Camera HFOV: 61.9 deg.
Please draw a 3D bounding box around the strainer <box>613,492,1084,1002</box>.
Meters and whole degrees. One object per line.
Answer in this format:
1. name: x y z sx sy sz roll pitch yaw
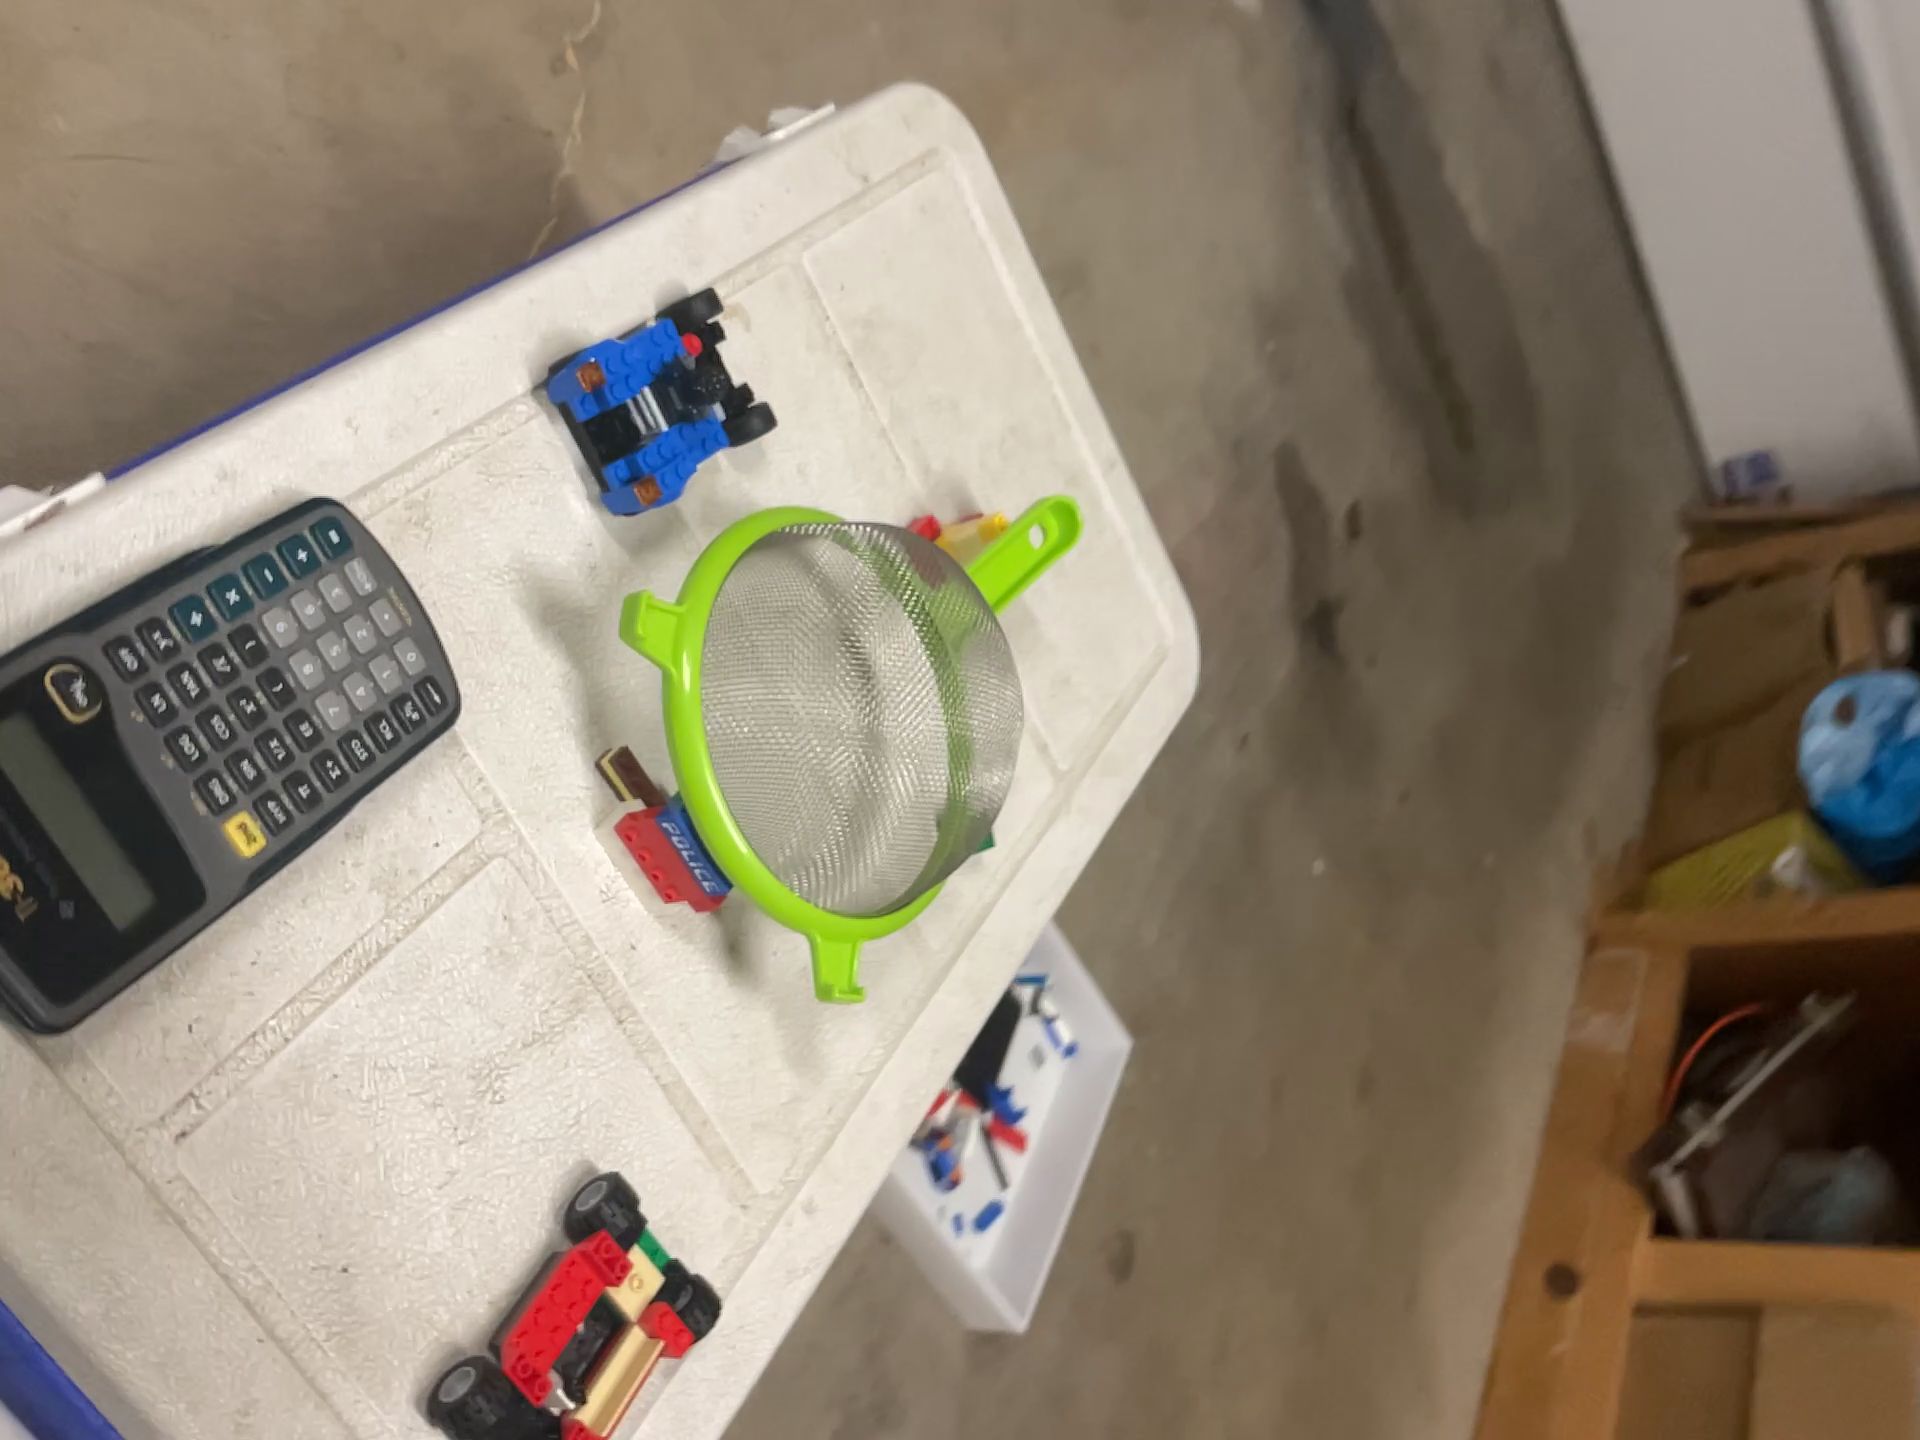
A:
1. strainer: 0.002 -0.030 0.571 0.257 0.069 0.151 -45 115 -47
